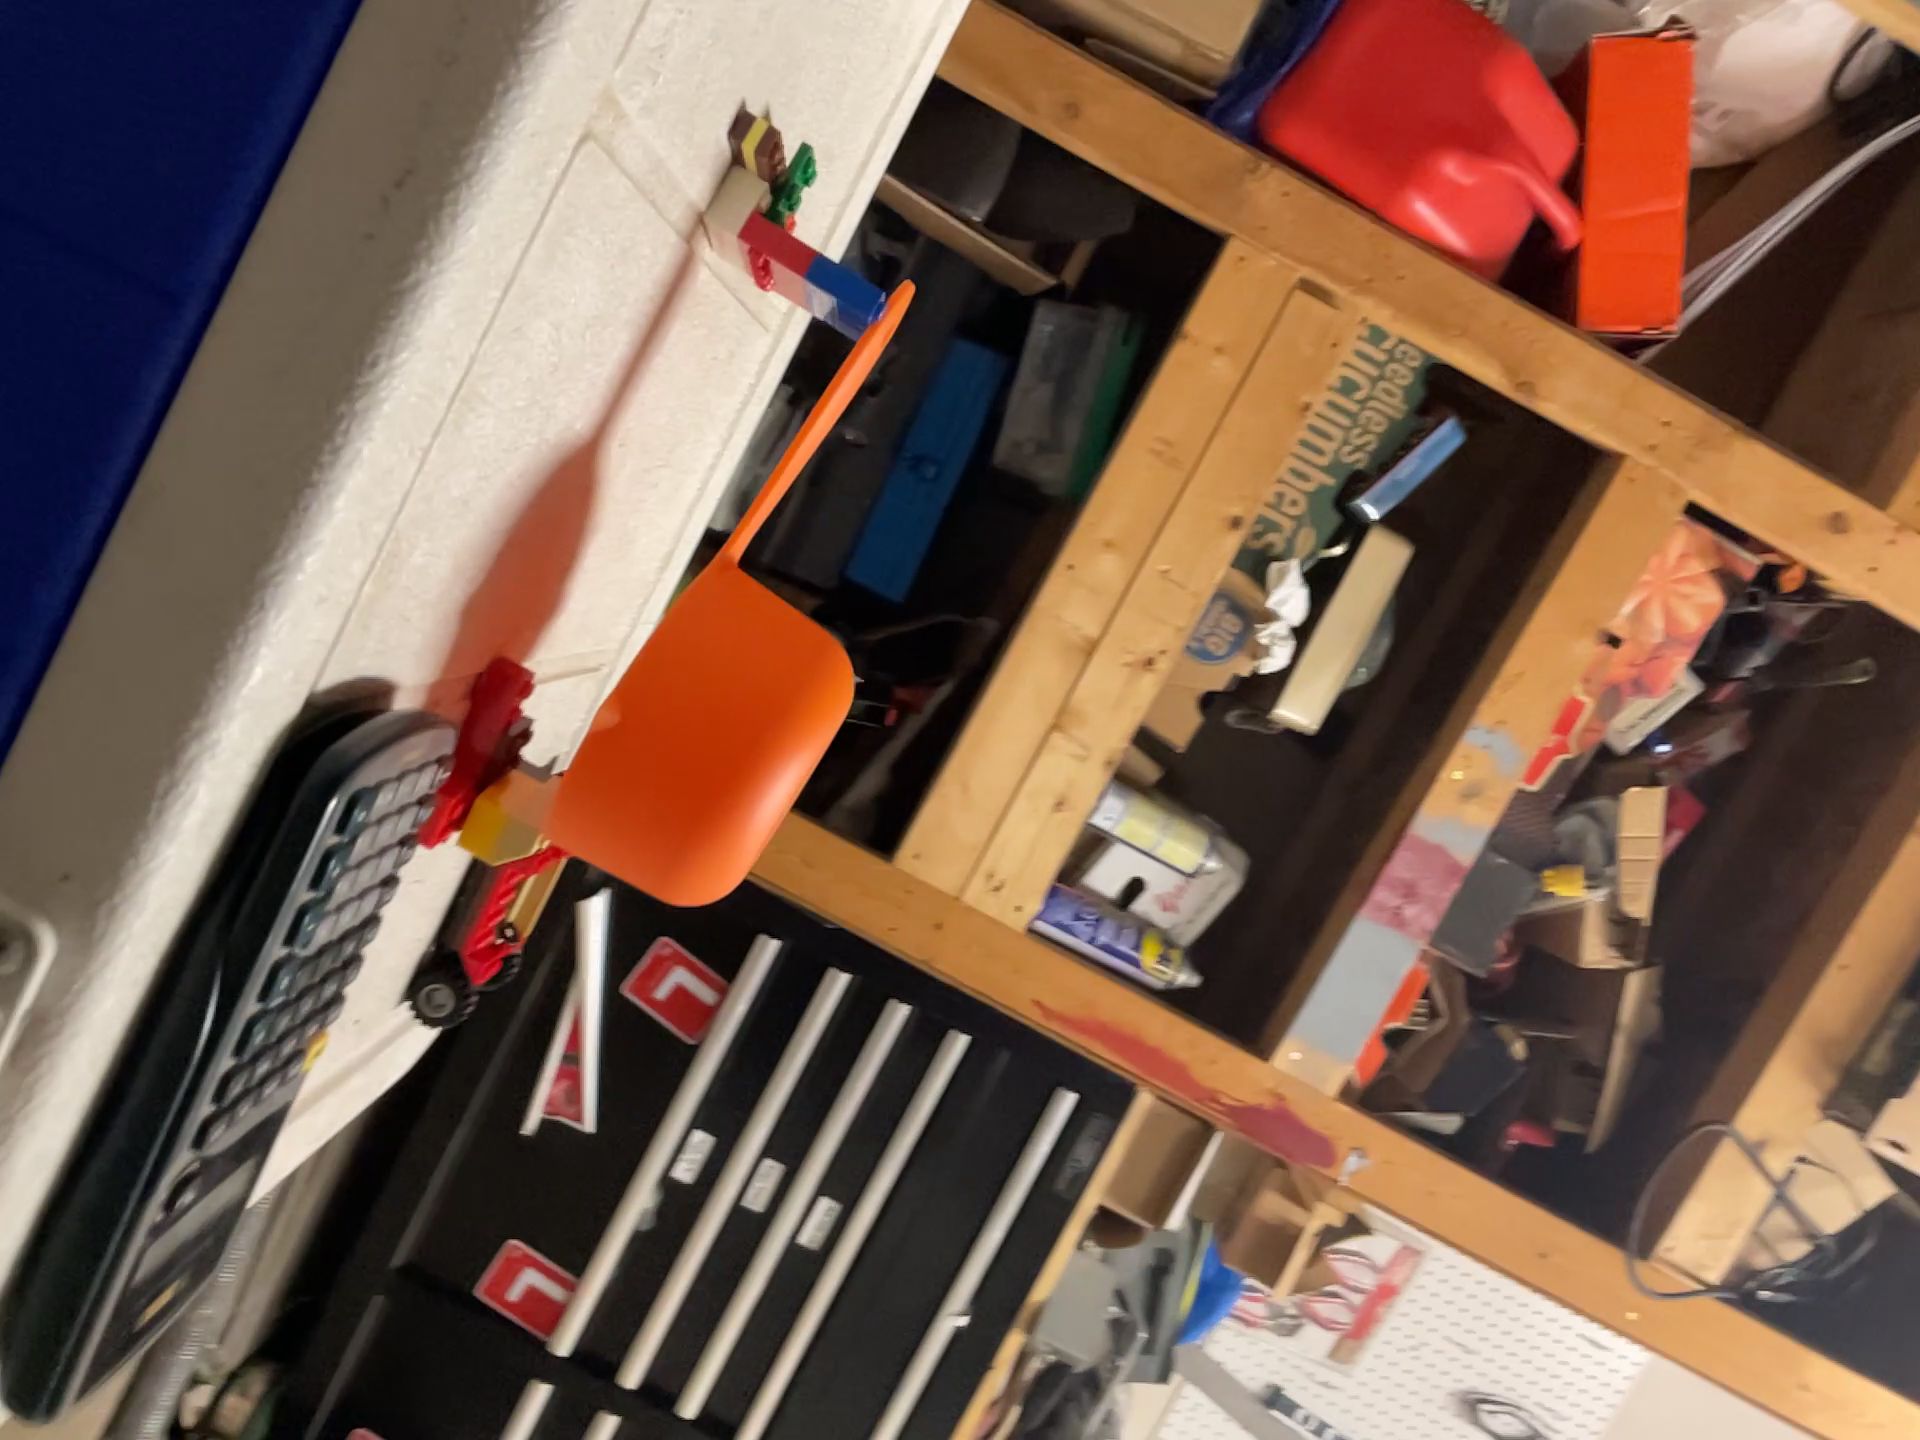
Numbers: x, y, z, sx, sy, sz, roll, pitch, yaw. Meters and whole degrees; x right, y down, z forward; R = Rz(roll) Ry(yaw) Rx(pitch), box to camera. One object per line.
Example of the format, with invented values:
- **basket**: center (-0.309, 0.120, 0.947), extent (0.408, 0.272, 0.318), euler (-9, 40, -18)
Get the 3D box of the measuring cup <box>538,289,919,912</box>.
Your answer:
- **measuring cup**: center (-0.042, -0.028, 0.421), extent (0.173, 0.052, 0.095), euler (-56, -177, 3)
